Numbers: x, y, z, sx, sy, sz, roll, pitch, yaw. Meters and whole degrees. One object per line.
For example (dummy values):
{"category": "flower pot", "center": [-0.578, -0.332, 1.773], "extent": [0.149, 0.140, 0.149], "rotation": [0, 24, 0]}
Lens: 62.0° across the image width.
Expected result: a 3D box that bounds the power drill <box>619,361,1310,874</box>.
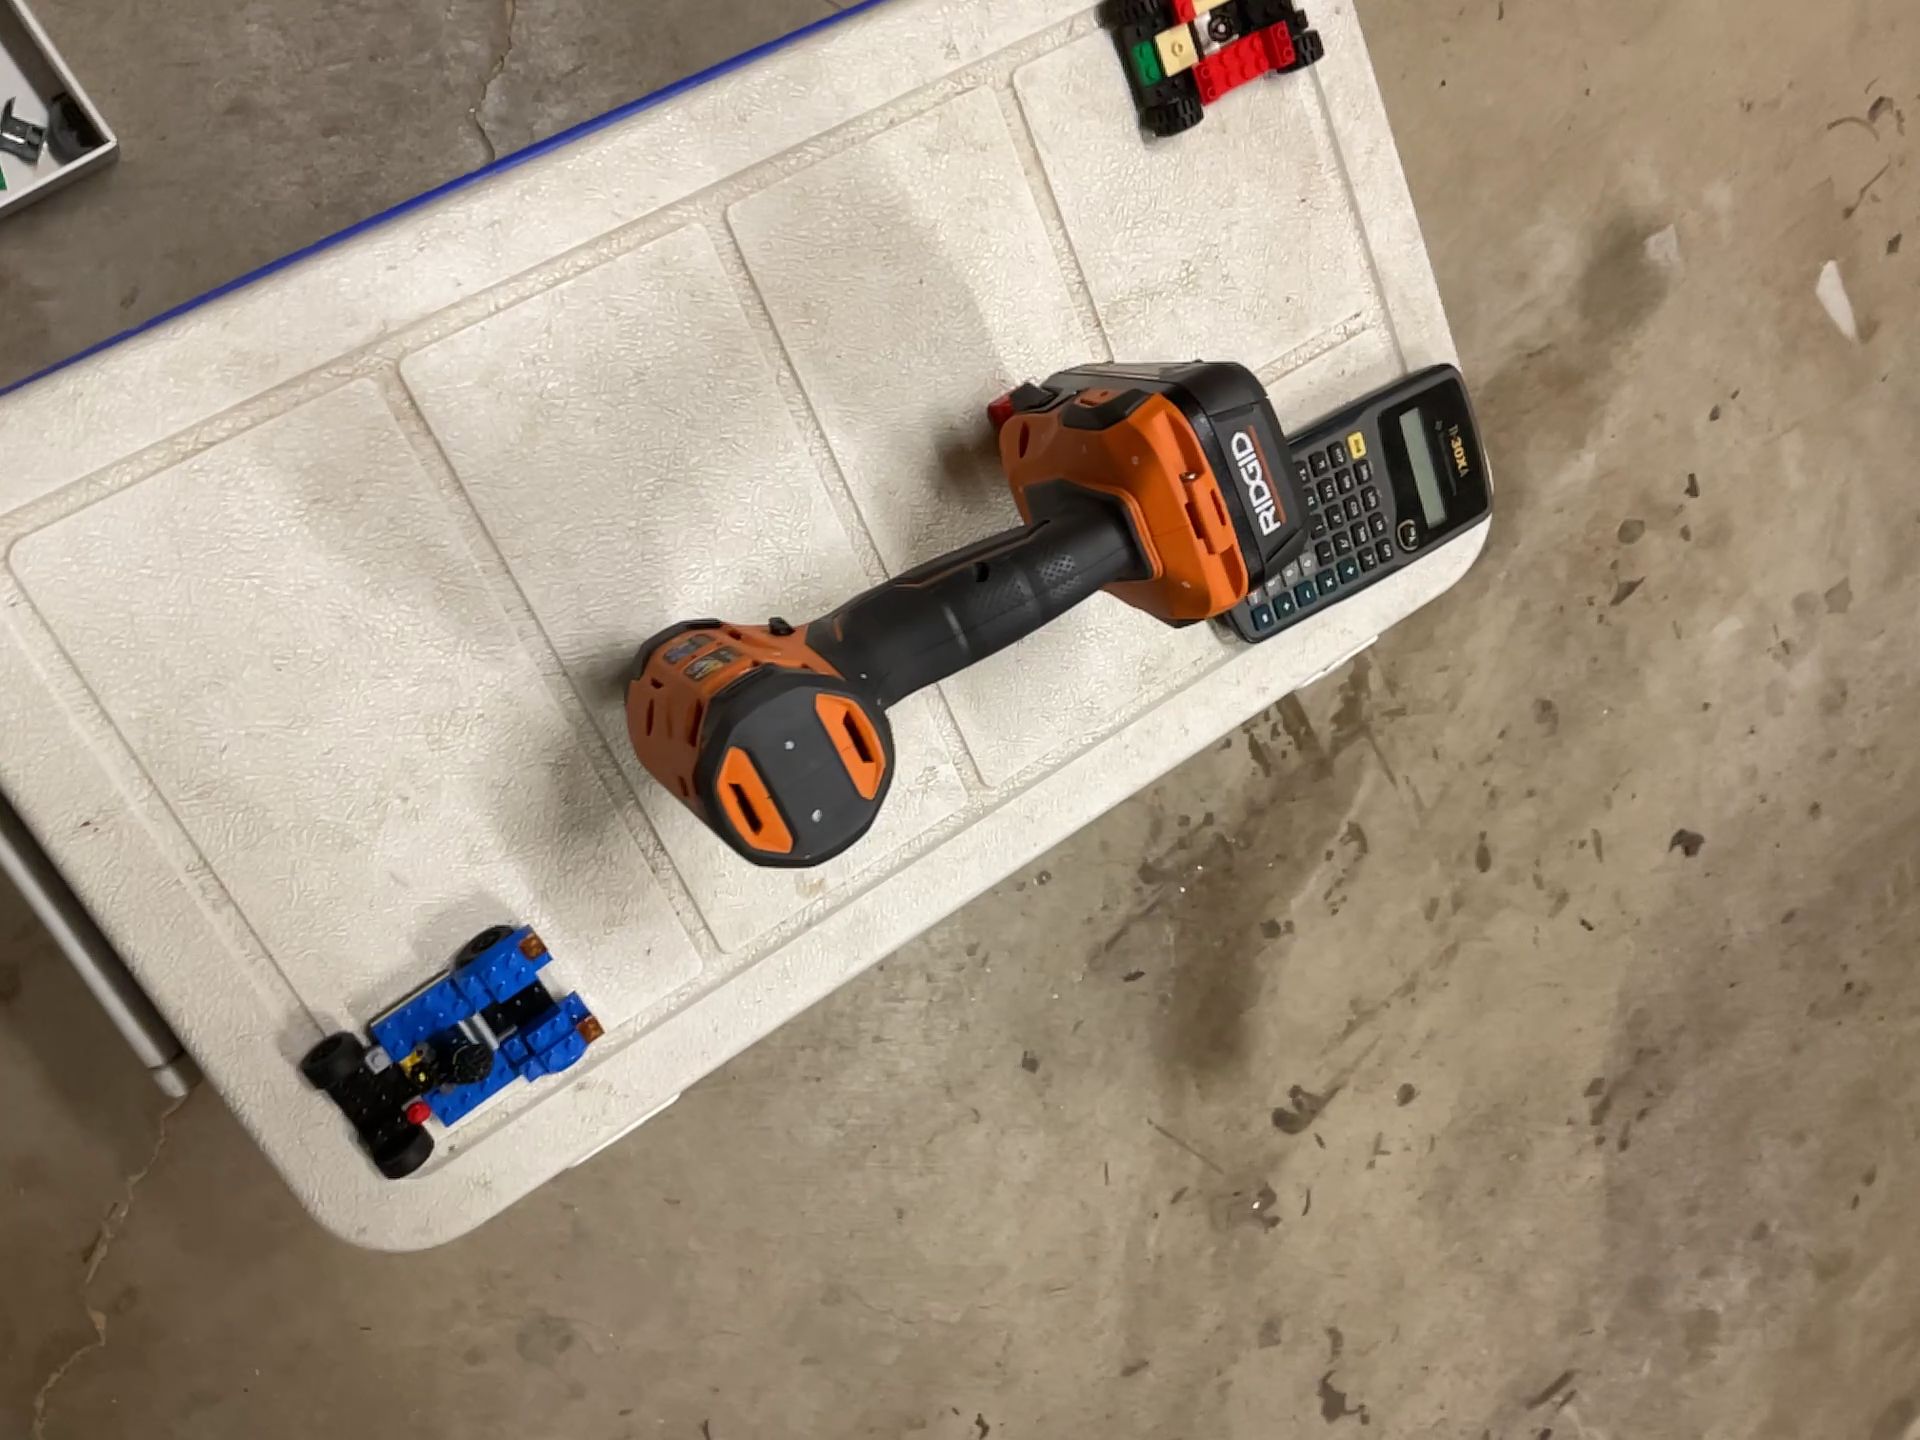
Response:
{"category": "power drill", "center": [-0.013, -0.042, 0.554], "extent": [0.226, 0.164, 0.084], "rotation": [-32, 114, -16]}
